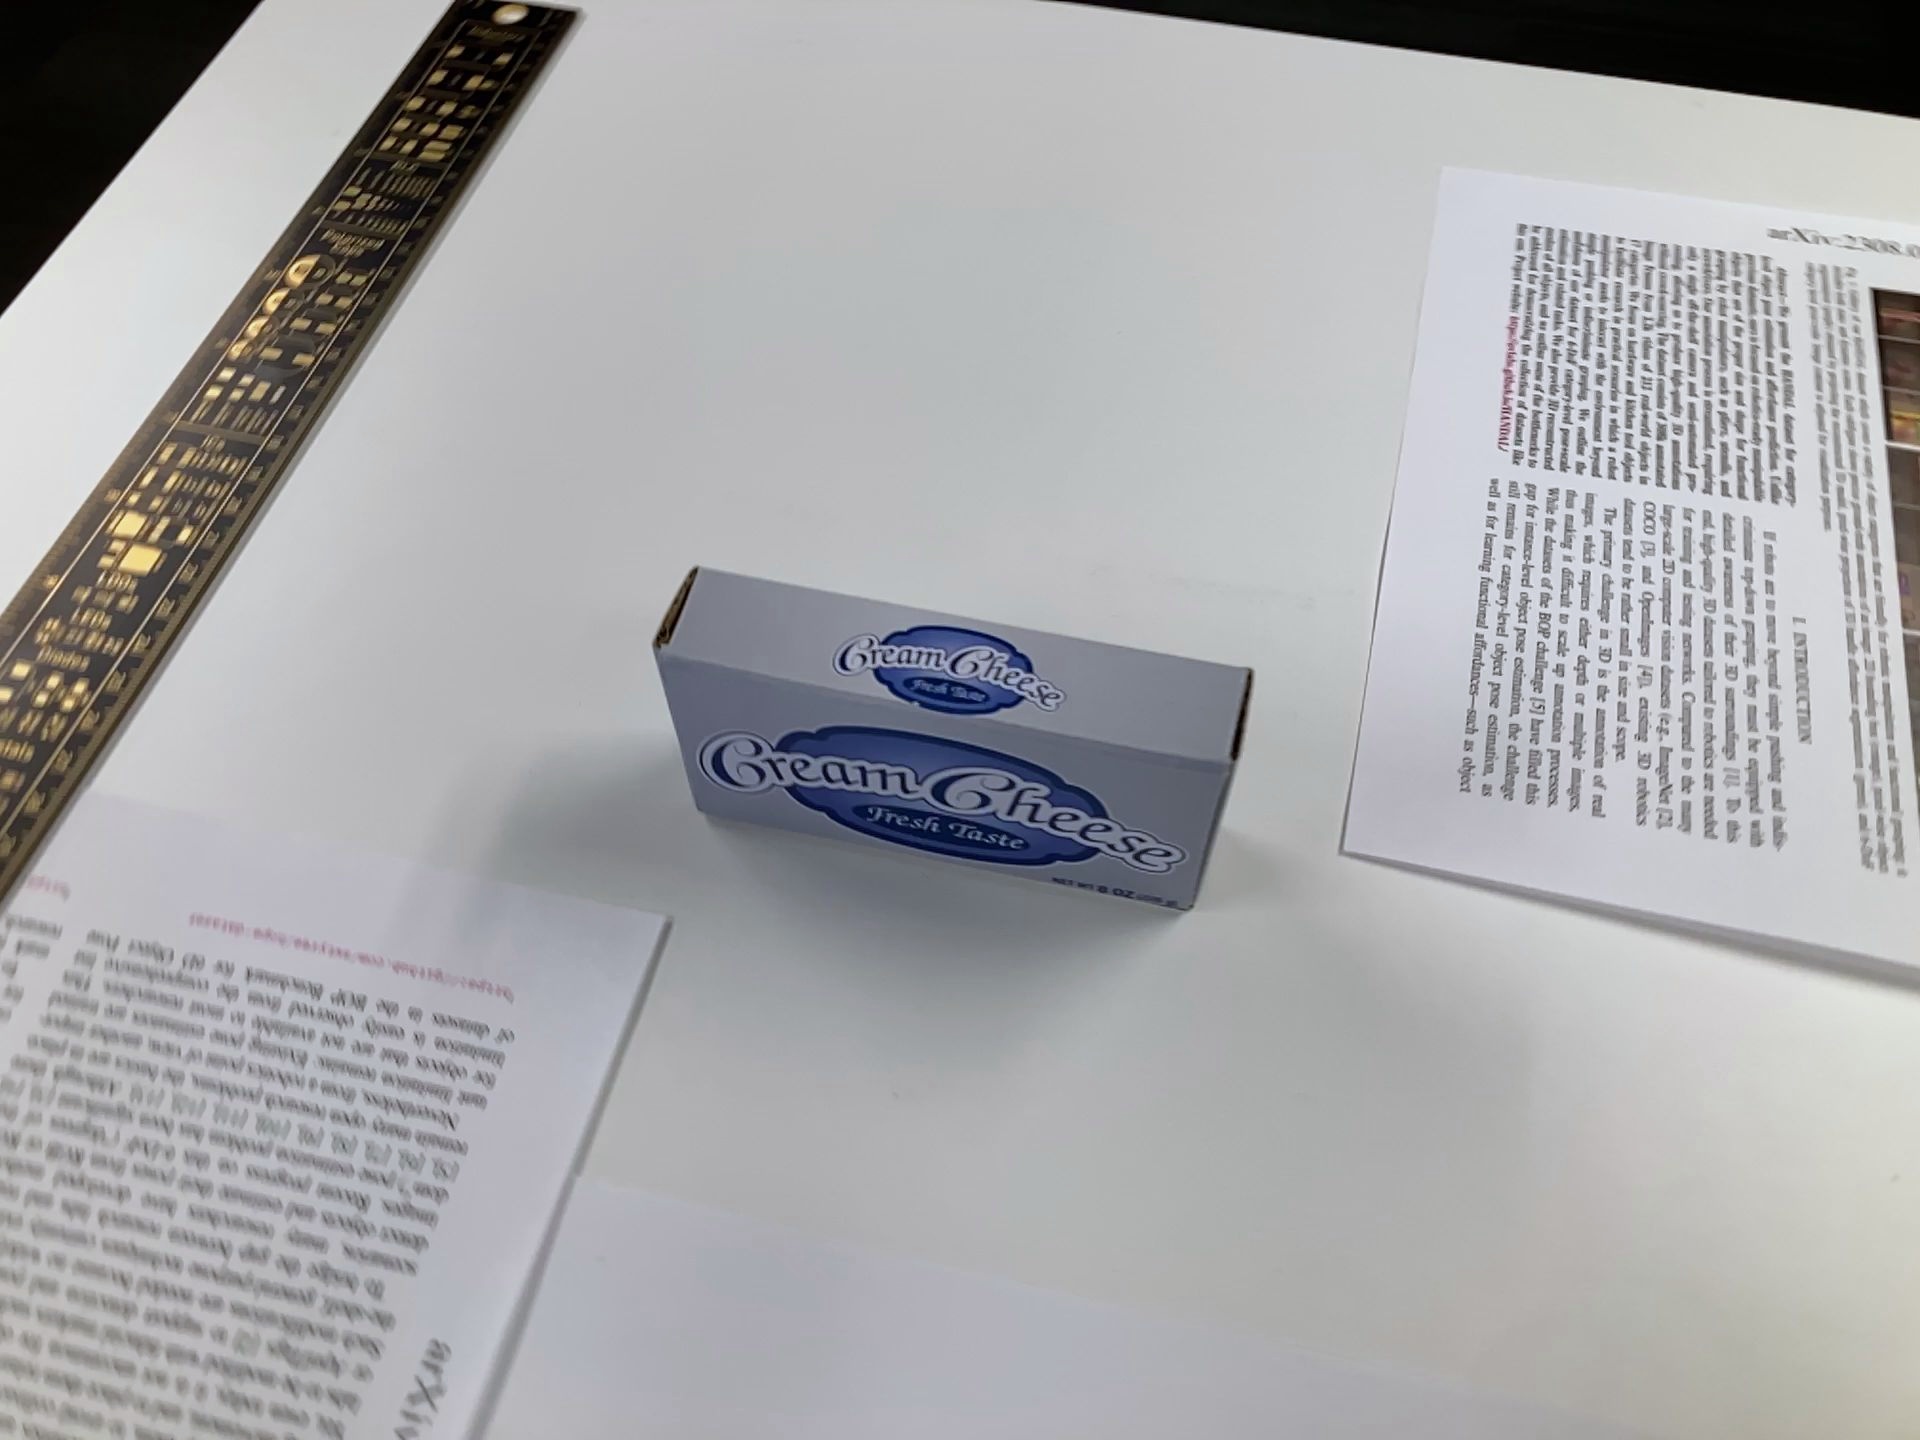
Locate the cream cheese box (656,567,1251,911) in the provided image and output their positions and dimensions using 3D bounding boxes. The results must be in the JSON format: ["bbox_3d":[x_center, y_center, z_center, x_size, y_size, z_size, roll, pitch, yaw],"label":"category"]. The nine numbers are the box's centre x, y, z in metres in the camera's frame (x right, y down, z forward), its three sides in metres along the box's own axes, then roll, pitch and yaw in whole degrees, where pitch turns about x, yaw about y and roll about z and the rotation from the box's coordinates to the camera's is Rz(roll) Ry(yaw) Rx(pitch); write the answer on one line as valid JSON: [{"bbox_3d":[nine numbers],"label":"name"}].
[{"bbox_3d":[-0.002,0.005,0.299,0.104,0.053,0.024,11,55,8],"label":"cream cheese box"}]
